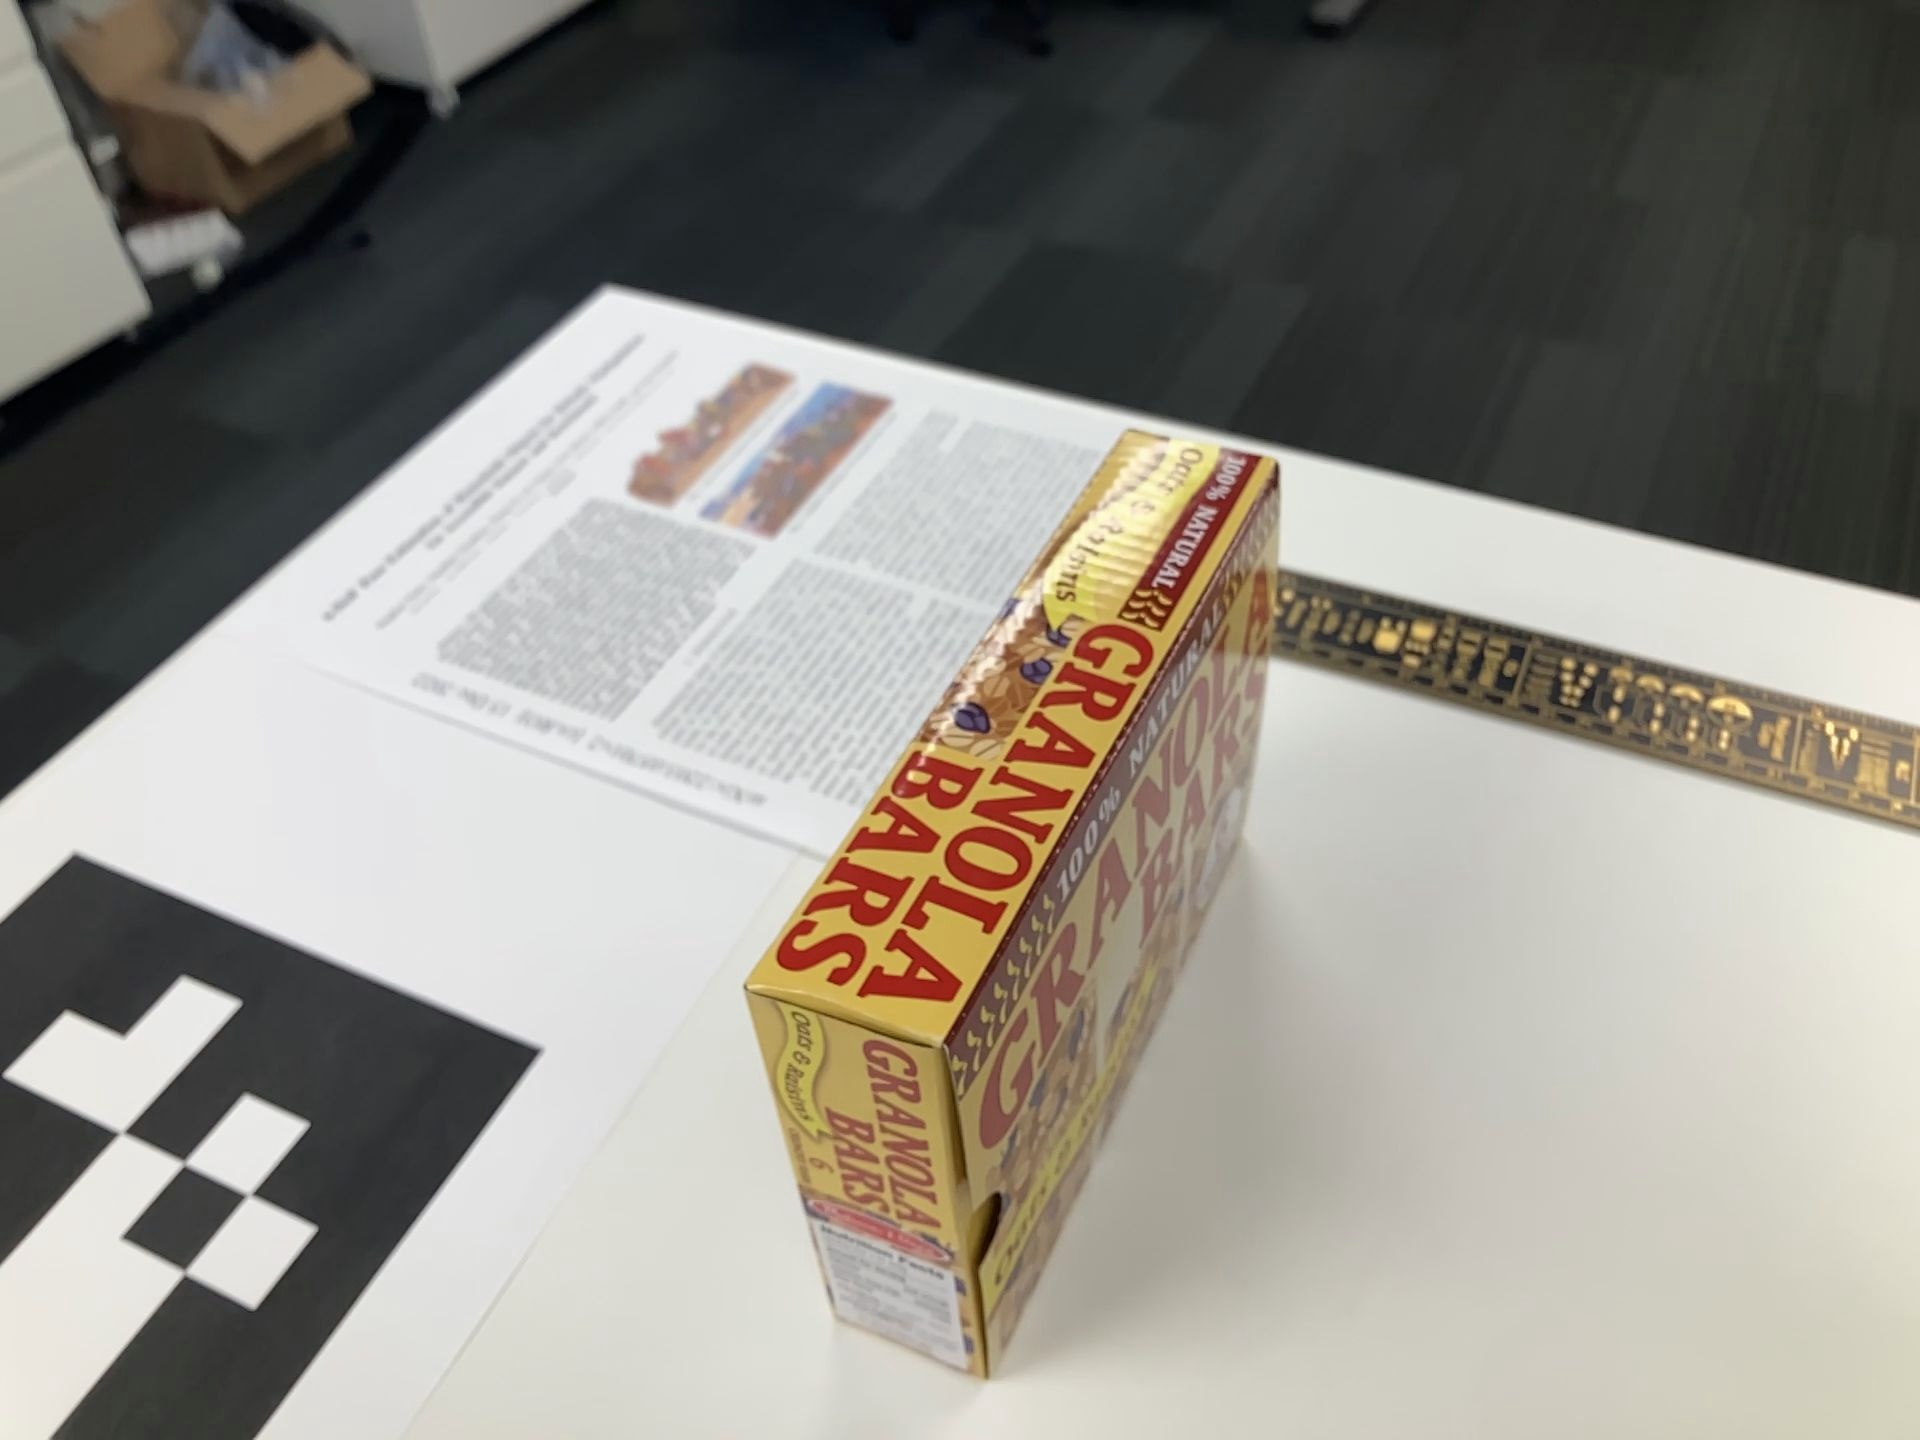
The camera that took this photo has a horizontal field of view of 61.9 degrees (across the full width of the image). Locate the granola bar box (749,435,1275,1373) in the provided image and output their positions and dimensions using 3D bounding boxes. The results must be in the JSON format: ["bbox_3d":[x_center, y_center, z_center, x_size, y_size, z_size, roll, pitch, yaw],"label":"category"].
[{"bbox_3d":[0.022,0.036,0.347,0.039,0.124,0.165,16,49,21],"label":"granola bar box"}]
